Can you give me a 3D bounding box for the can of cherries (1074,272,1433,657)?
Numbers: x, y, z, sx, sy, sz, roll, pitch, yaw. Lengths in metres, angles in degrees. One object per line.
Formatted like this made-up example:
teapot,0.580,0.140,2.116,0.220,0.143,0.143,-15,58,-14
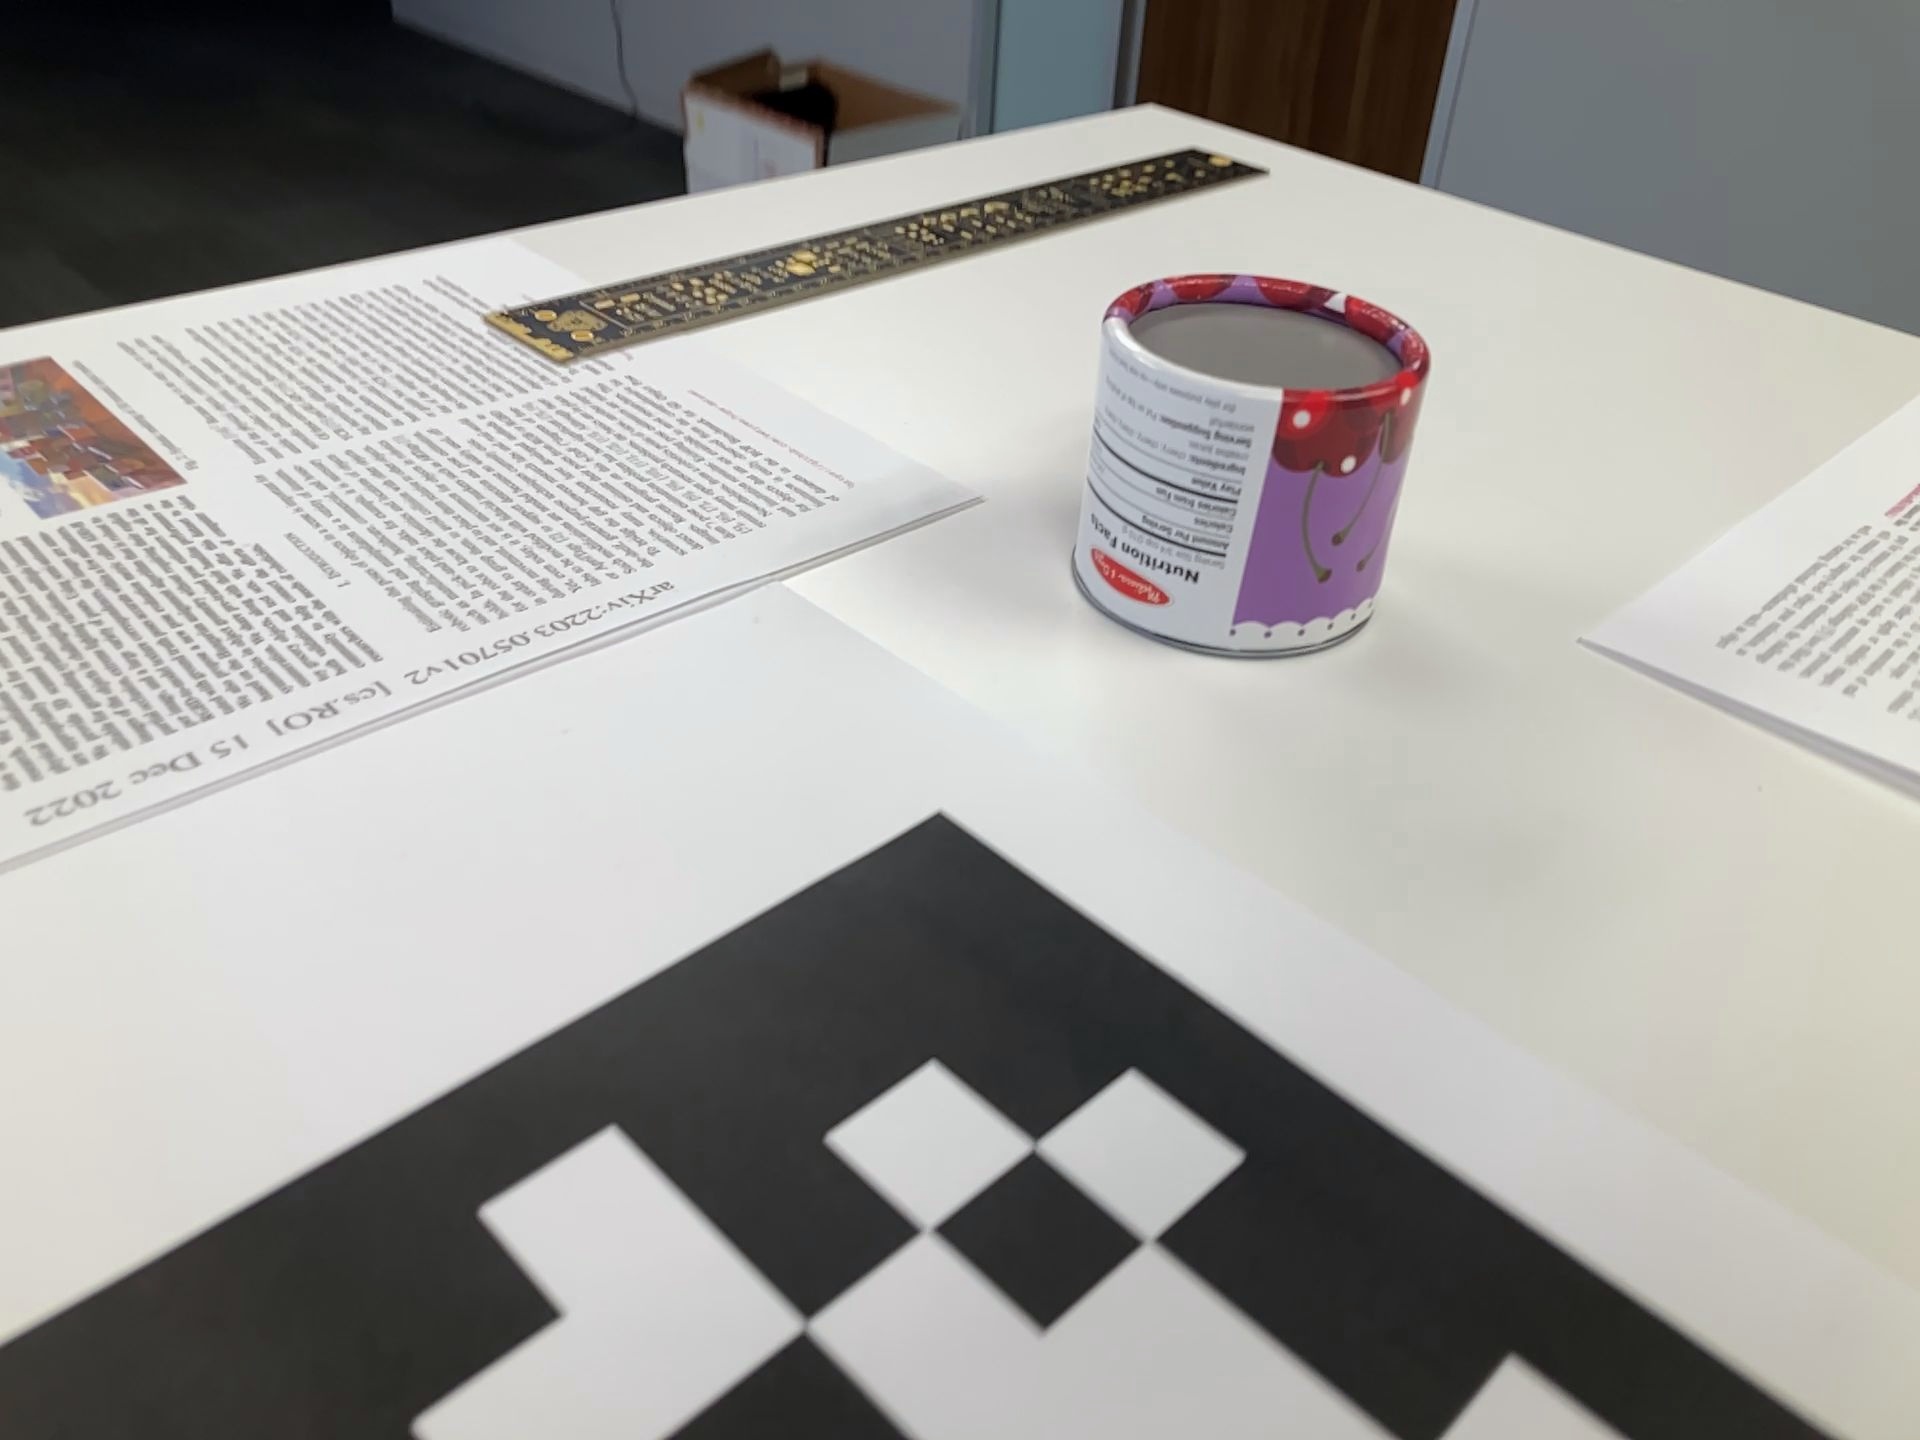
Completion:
can of cherries,0.061,-0.056,0.333,0.071,0.058,0.071,3,34,-2
